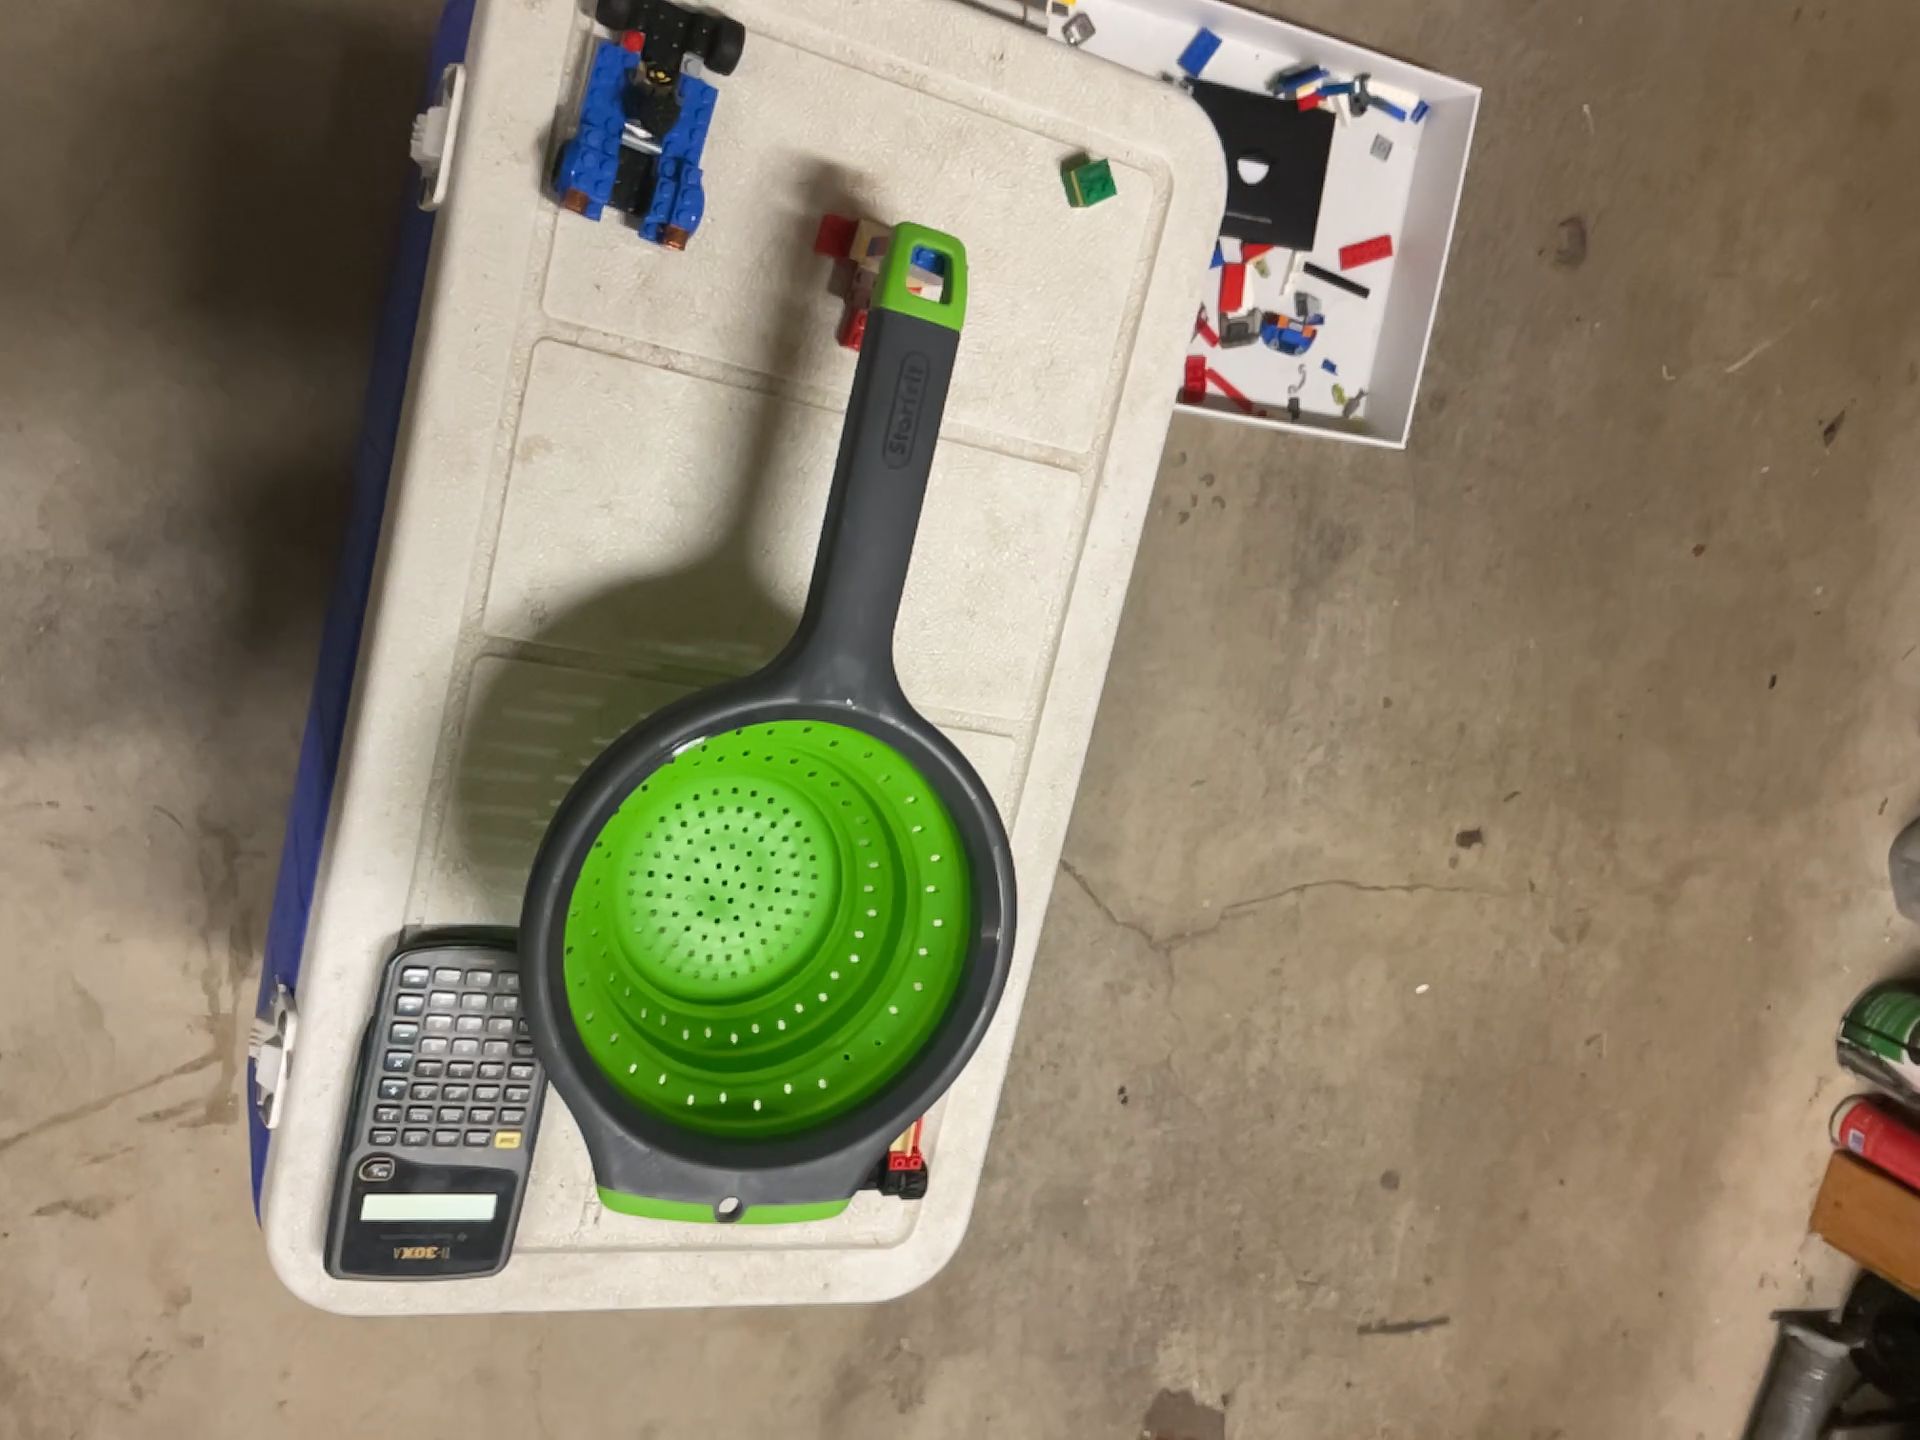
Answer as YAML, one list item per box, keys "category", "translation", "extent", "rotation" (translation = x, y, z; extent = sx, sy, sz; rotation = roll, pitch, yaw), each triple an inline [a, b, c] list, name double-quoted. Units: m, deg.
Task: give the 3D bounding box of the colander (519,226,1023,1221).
- category: "colander"
  translation: [-0.066, -0.001, 0.660]
  extent: [0.204, 0.094, 0.396]
  rotation: [11, 94, -25]
